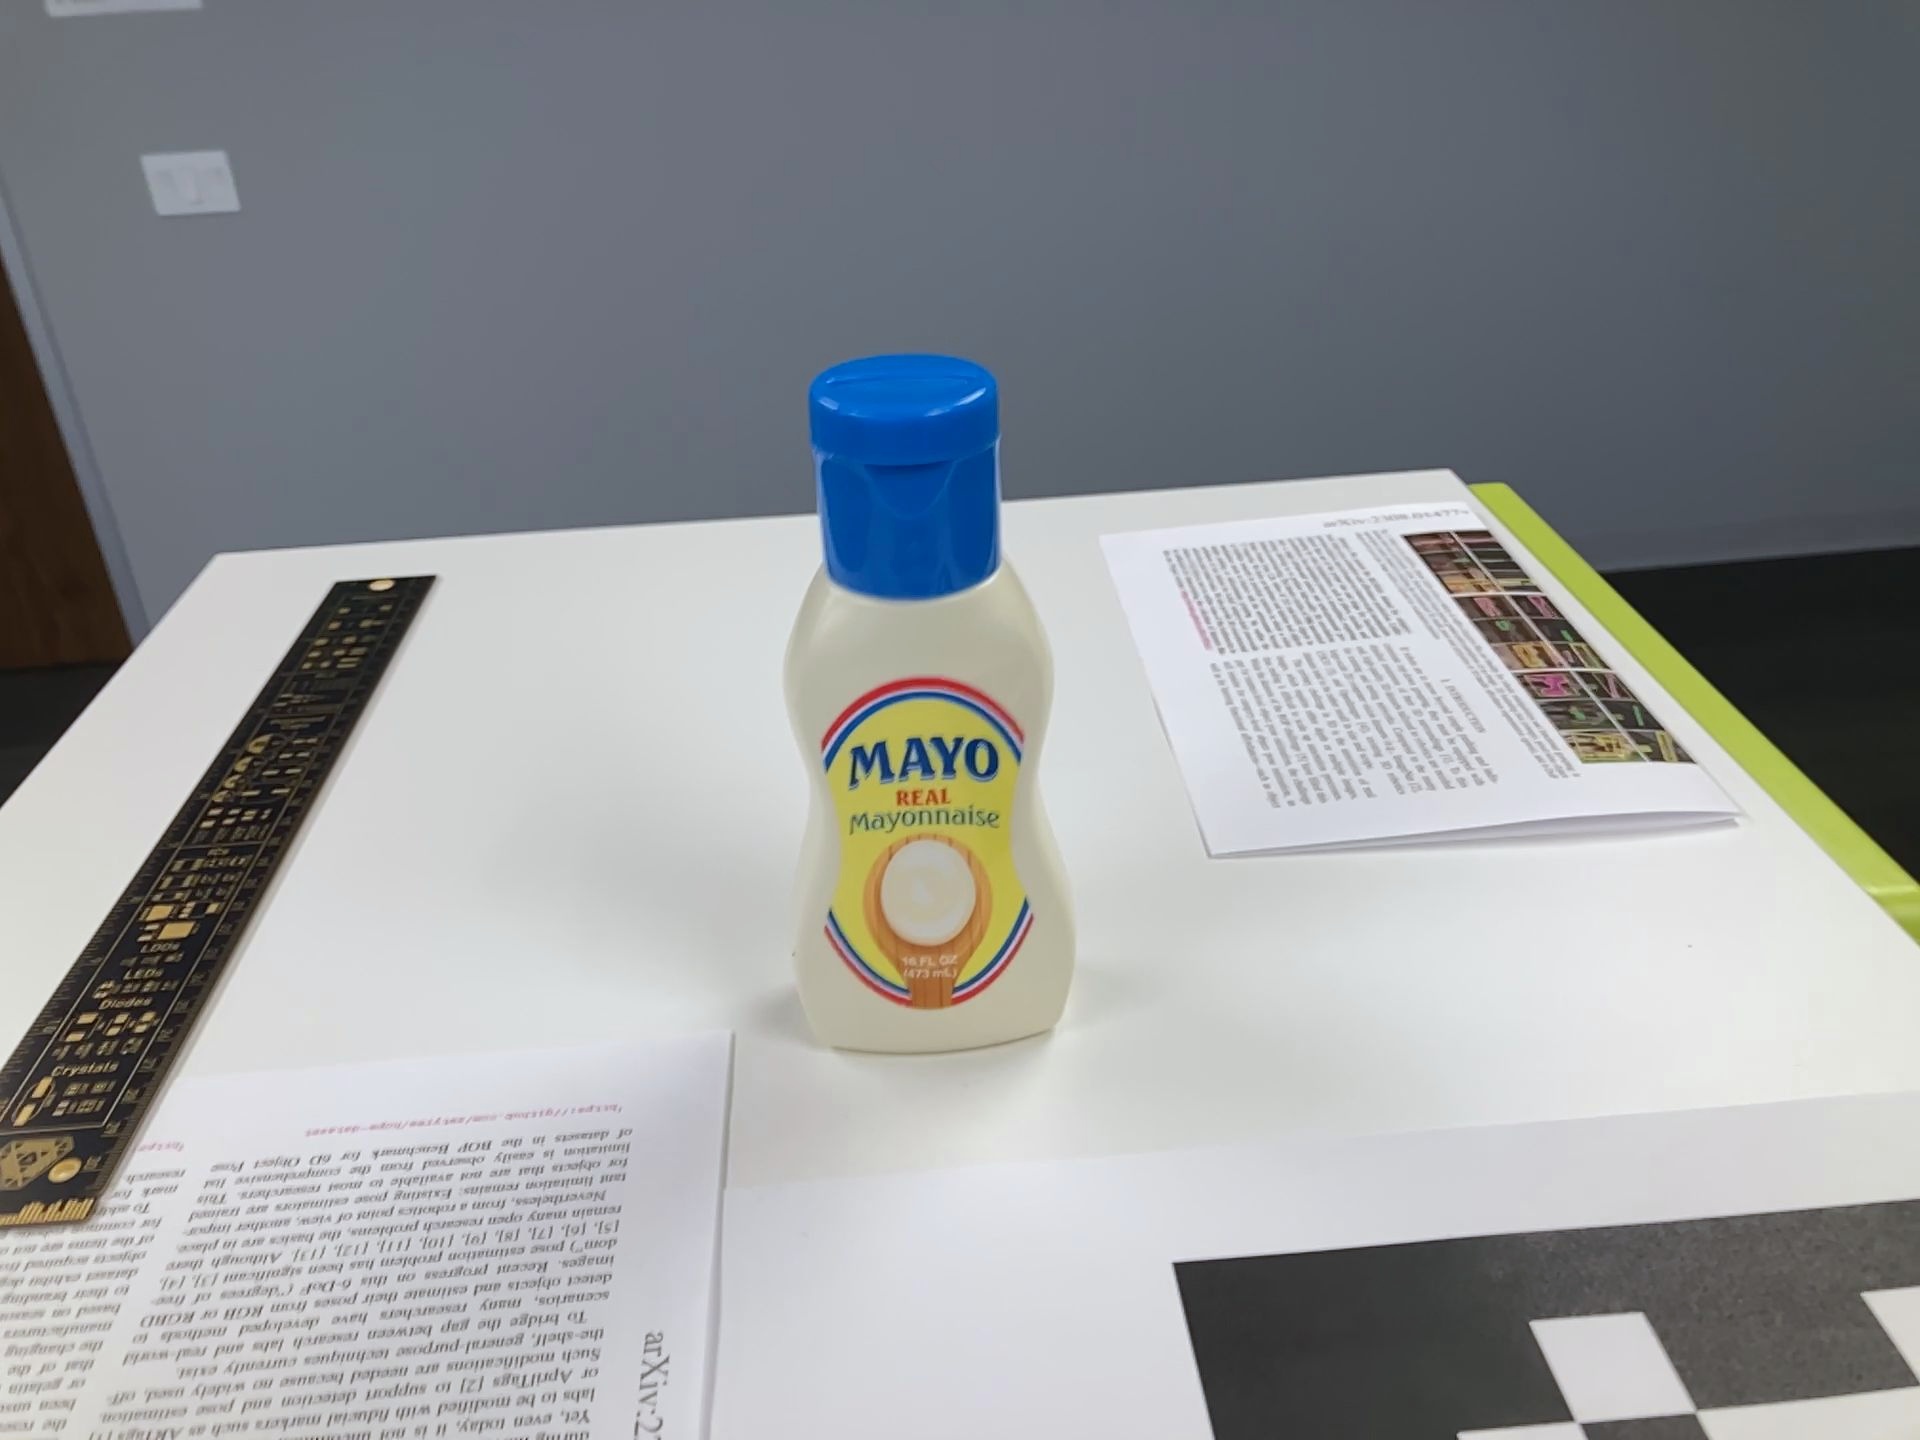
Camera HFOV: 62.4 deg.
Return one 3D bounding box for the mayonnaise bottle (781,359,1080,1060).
[{"bbox_3d":[-0.008,0.002,0.330,0.065,0.148,0.041,-4,29,-2],"label":"mayonnaise bottle"}]
